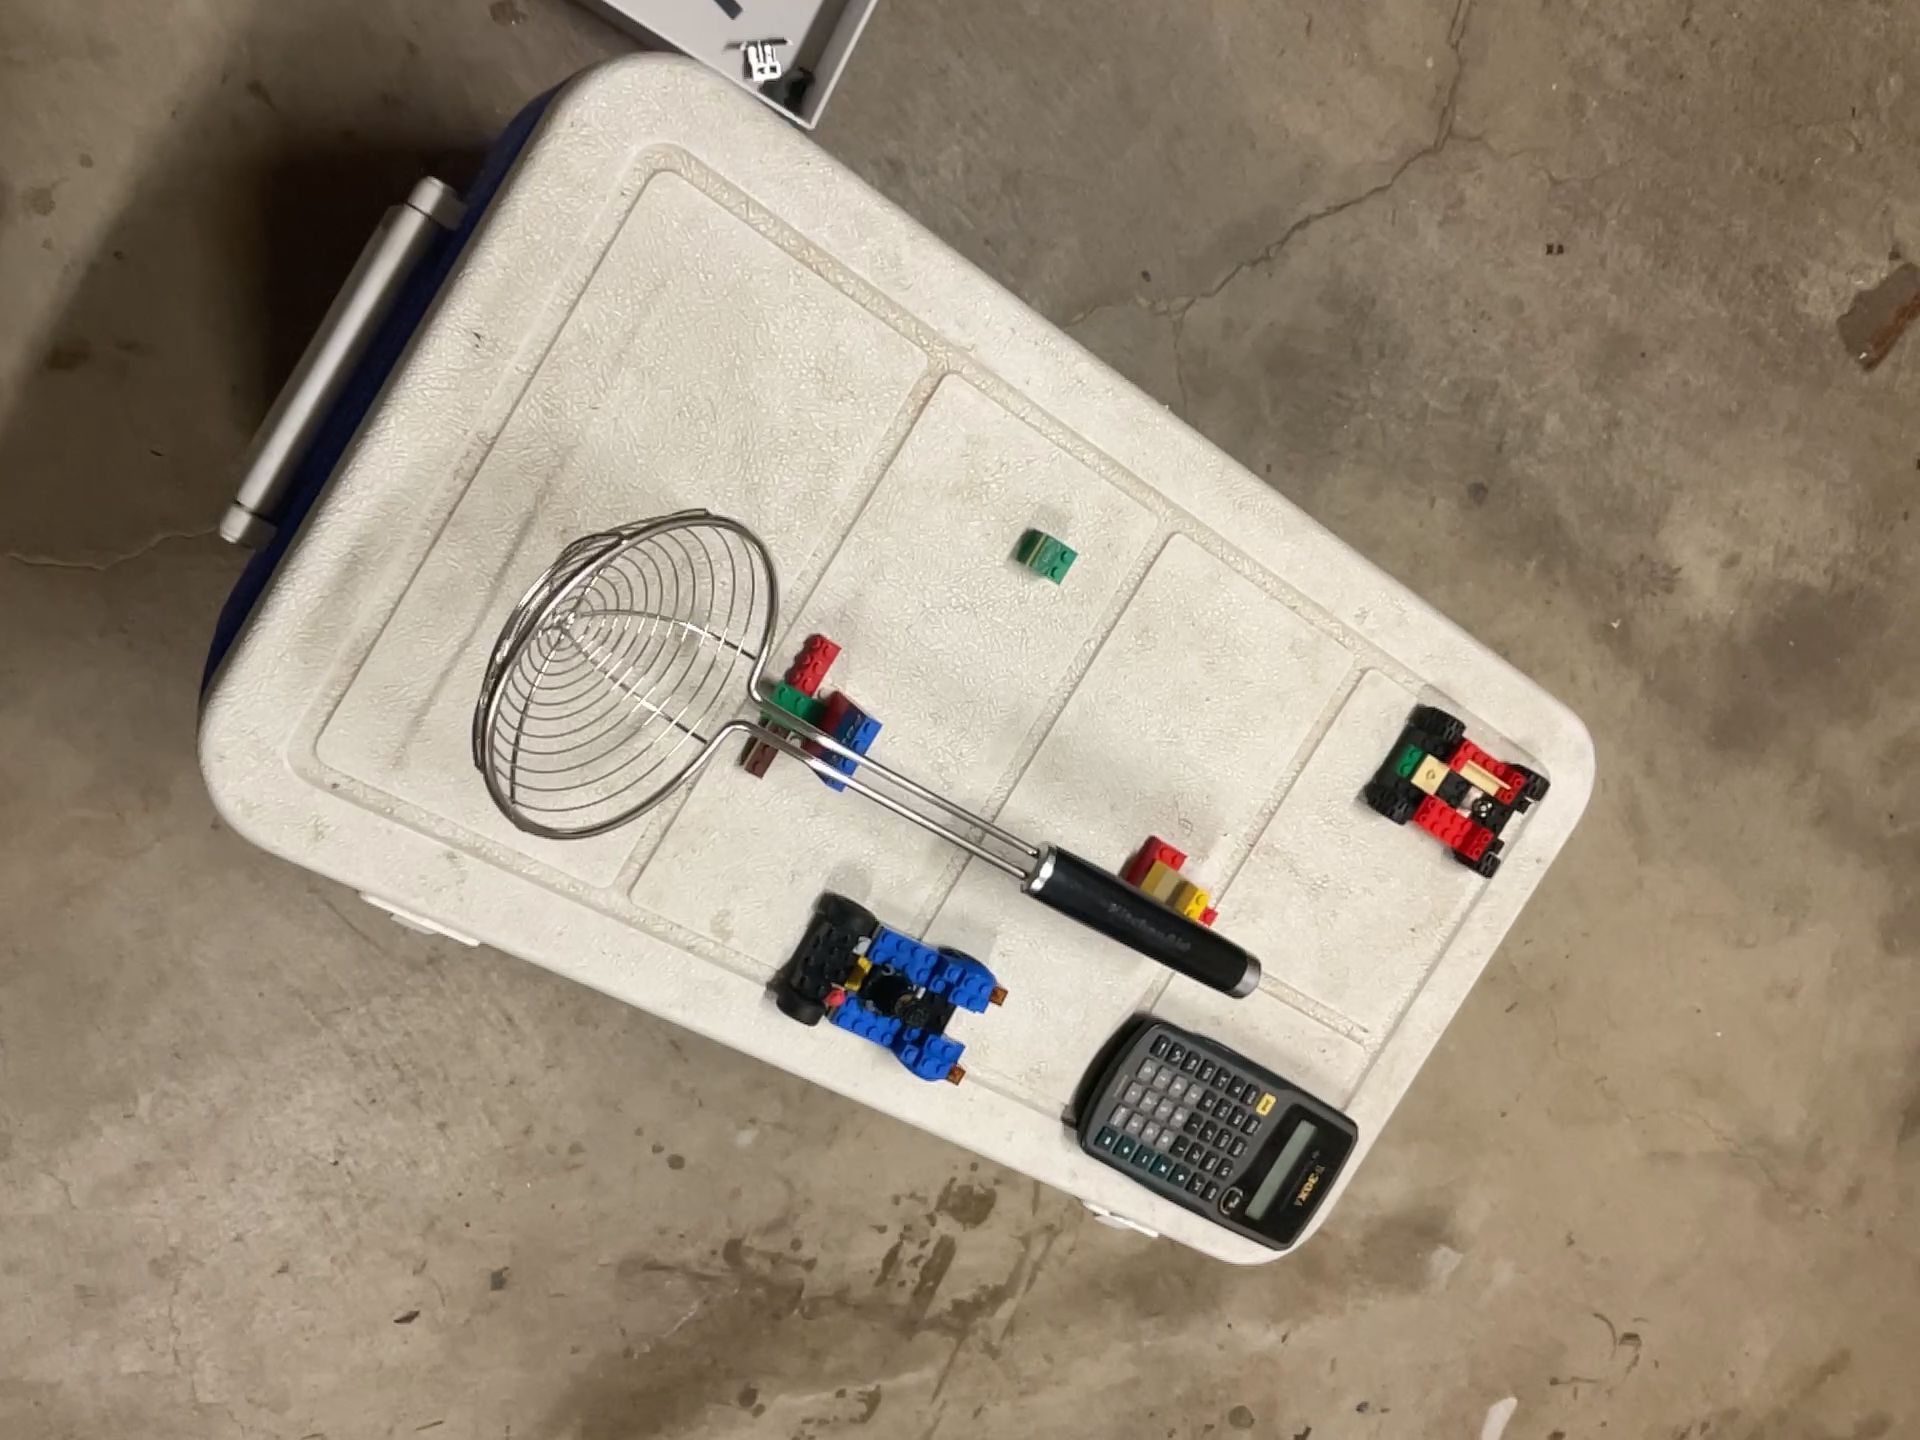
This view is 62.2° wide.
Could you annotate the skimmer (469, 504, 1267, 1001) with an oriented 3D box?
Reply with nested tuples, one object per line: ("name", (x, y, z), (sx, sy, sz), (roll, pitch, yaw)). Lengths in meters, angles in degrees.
("skimmer", (-0.006, 0.043, 0.591), (0.362, 0.090, 0.127), (29, 95, -26))
